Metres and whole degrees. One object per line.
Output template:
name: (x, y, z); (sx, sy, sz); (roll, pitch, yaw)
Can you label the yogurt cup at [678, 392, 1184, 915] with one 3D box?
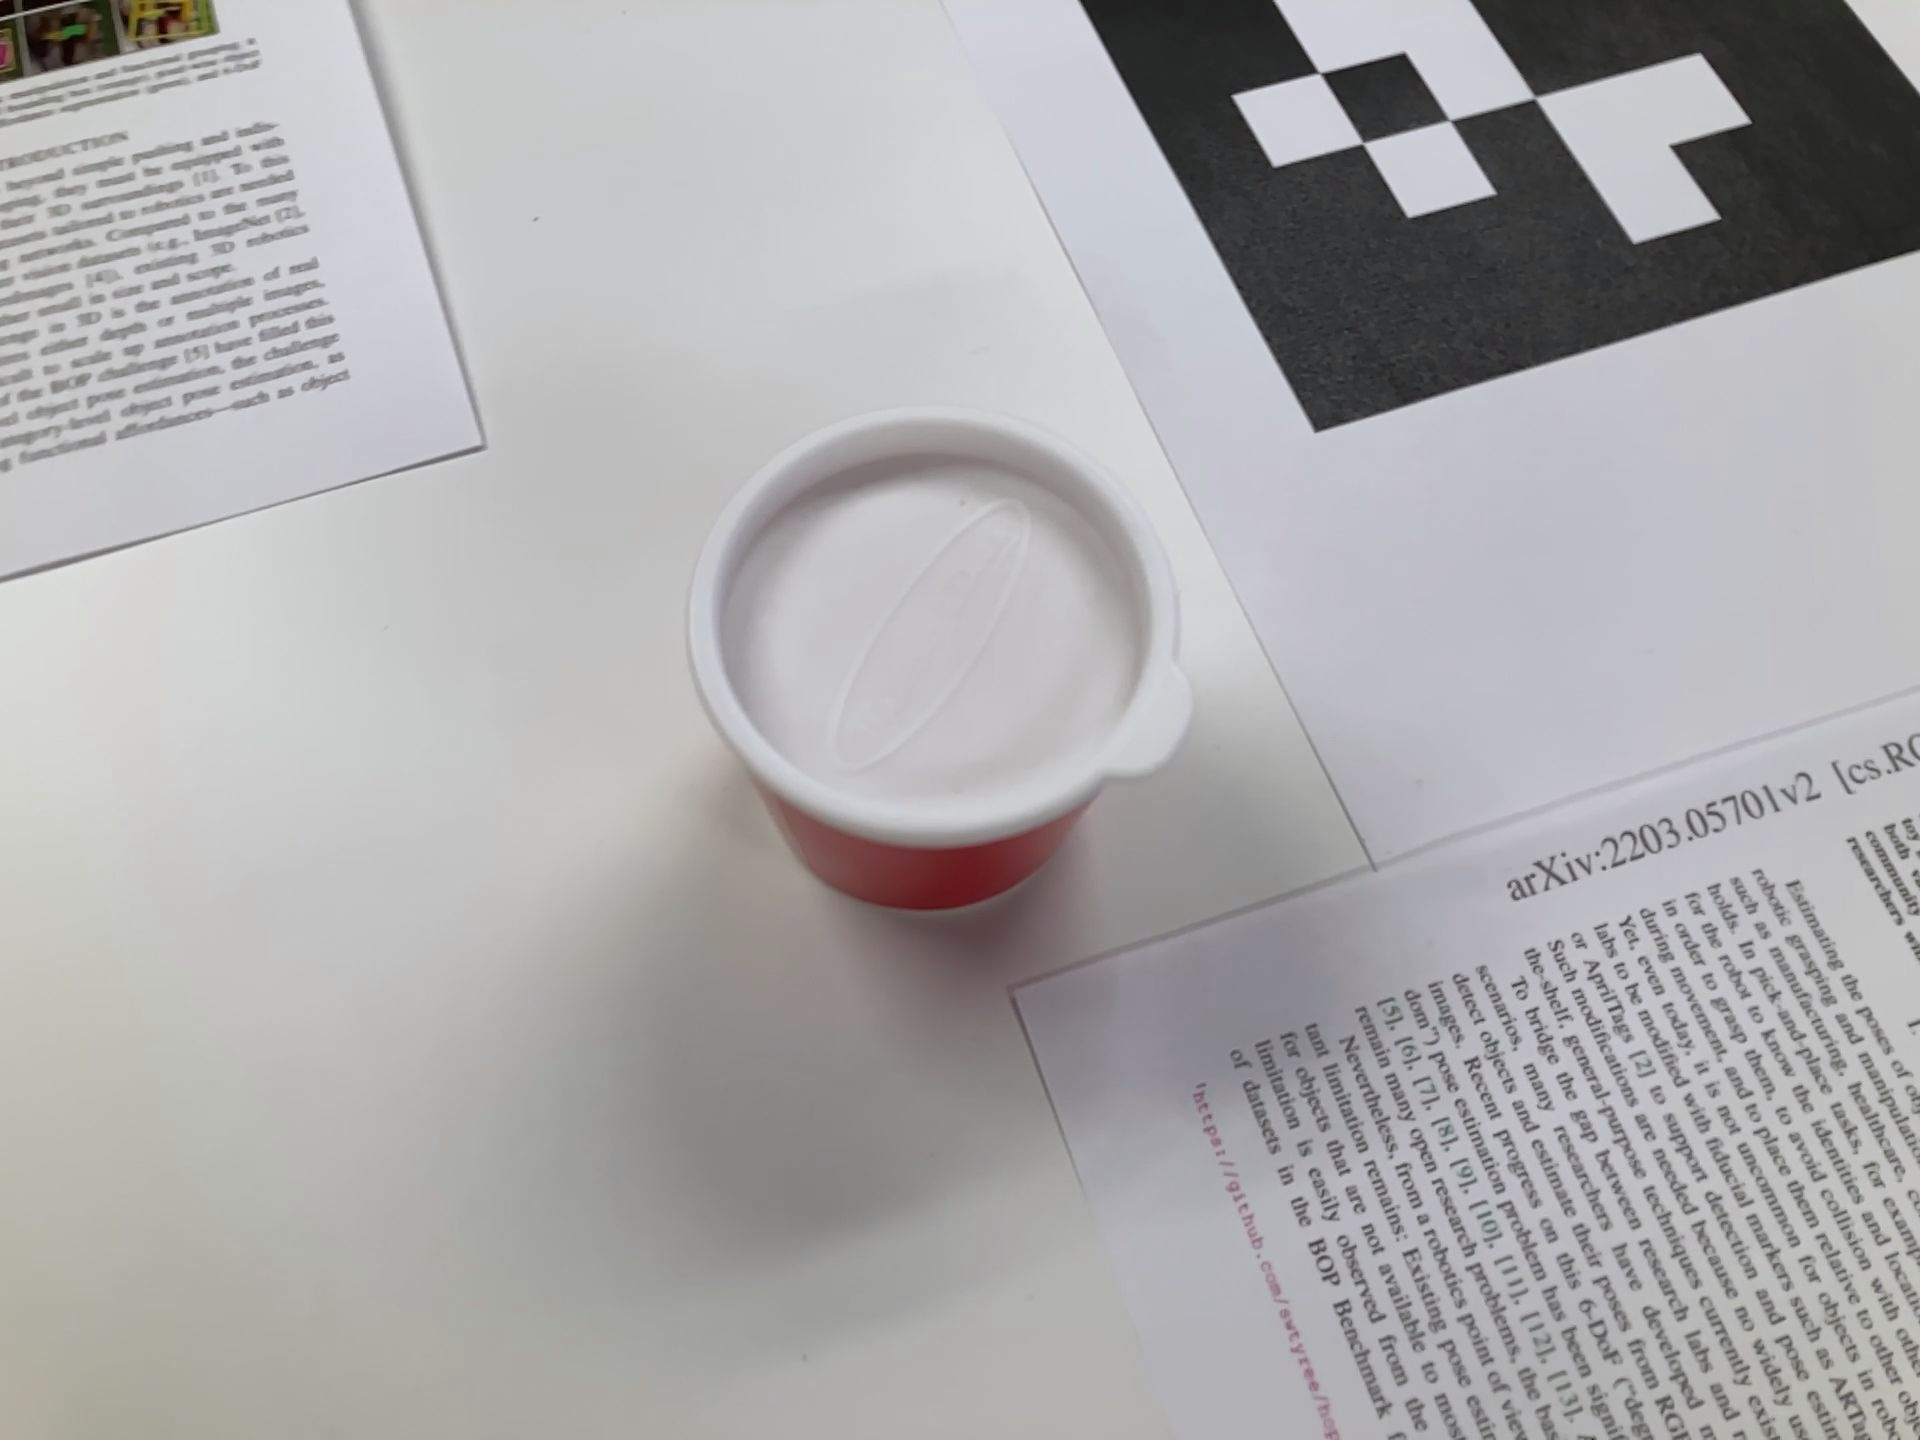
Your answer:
yogurt cup: (-0.005, -0.005, 0.235); (0.072, 0.054, 0.072); (1, 65, -2)
